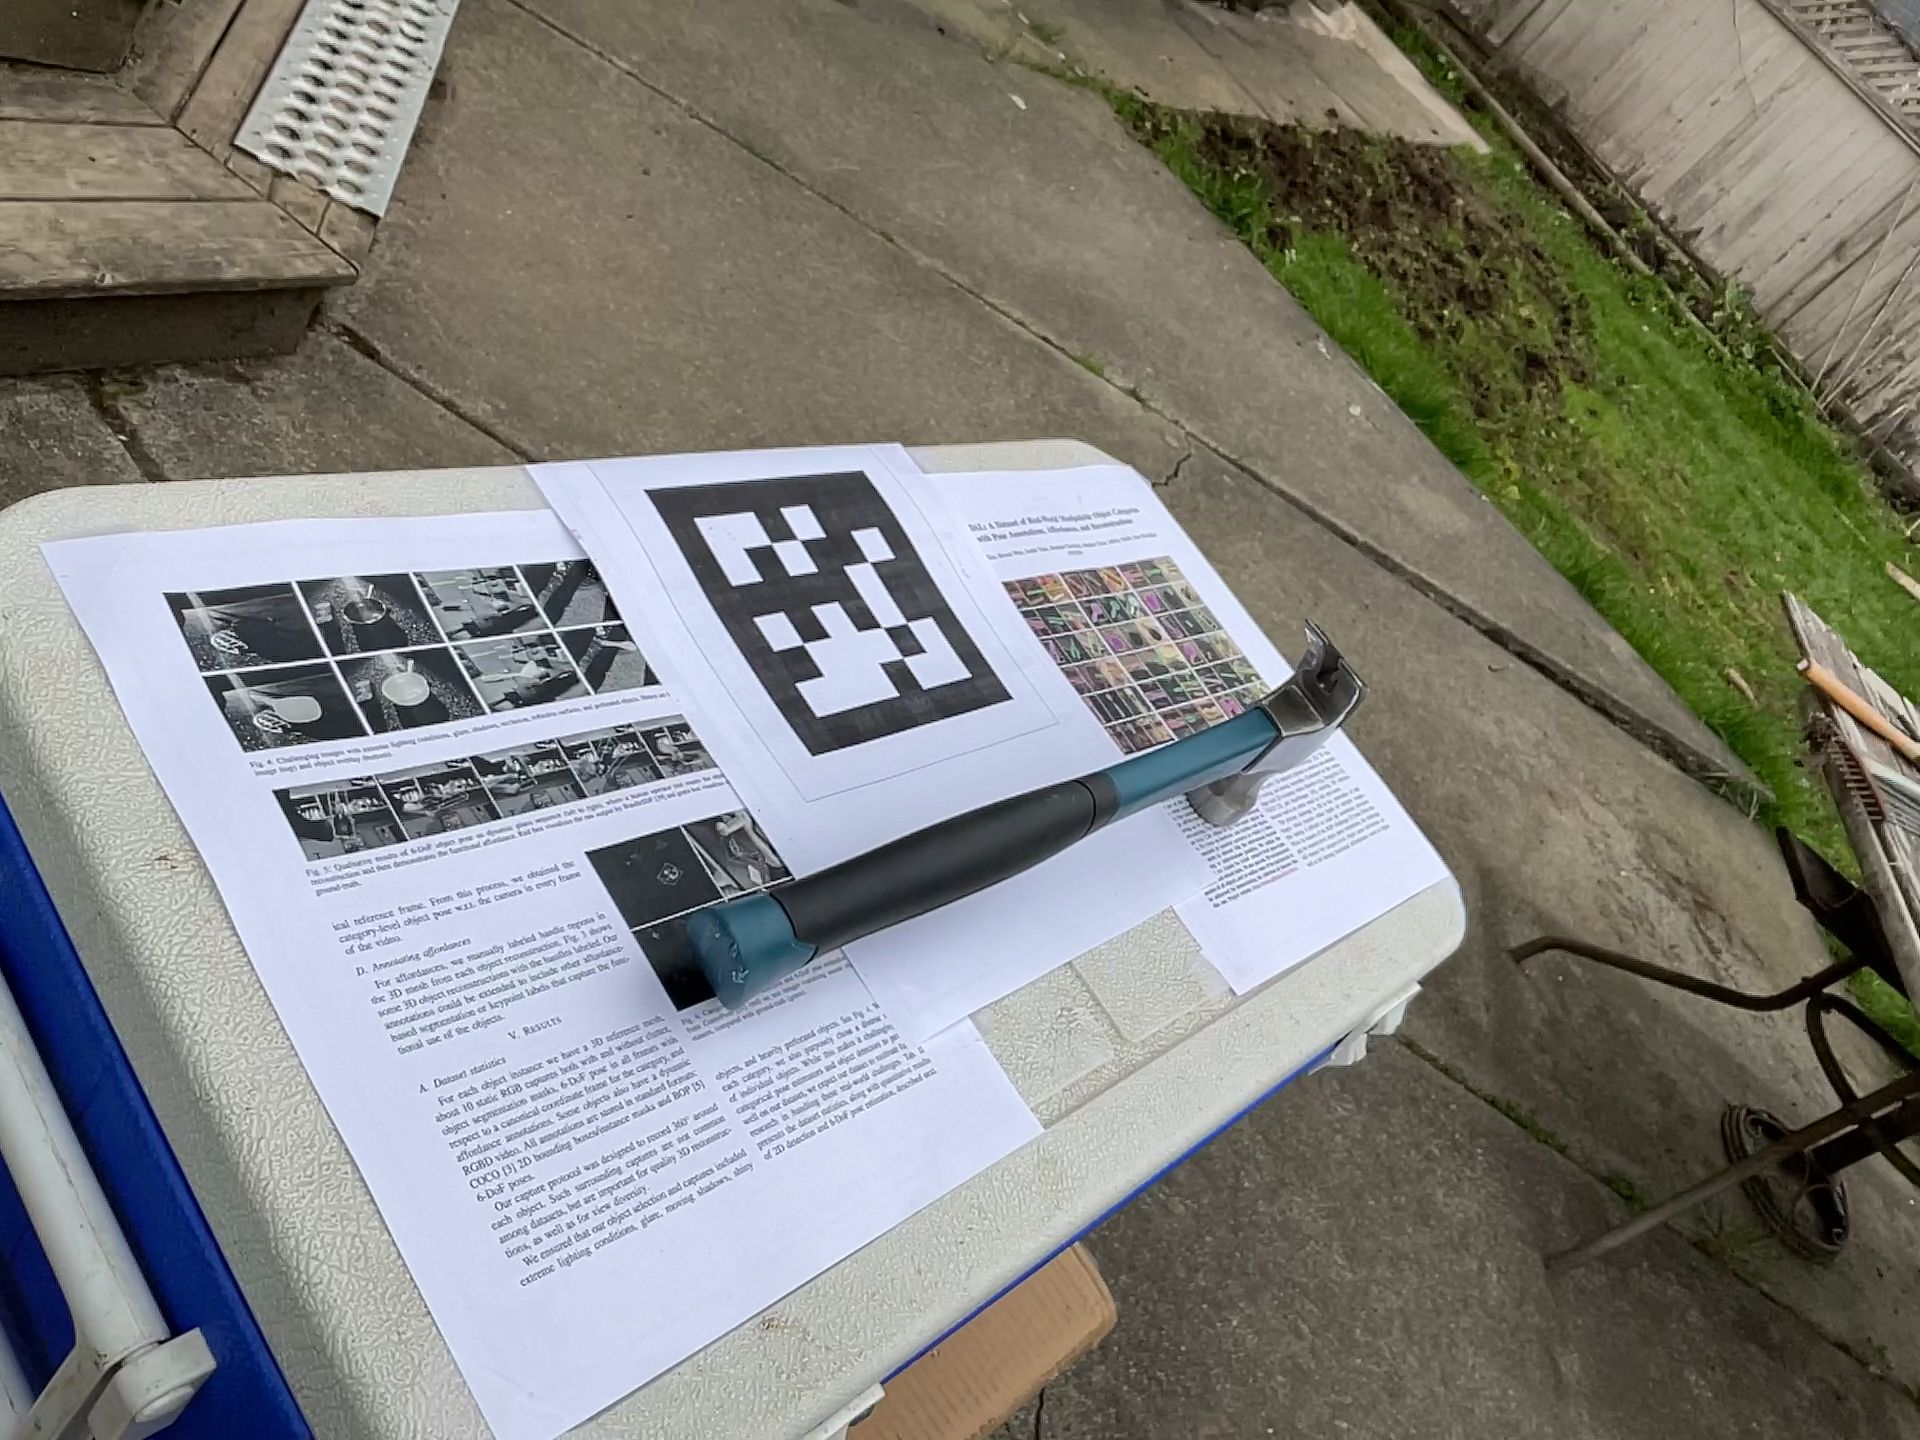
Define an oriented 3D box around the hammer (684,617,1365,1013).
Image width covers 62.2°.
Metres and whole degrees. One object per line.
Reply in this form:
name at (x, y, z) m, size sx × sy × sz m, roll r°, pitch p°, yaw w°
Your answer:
hammer at (0.038, 0.035, 0.579) m, size 0.331 × 0.128 × 0.033 m, roll -18°, pitch 65°, yaw -43°
